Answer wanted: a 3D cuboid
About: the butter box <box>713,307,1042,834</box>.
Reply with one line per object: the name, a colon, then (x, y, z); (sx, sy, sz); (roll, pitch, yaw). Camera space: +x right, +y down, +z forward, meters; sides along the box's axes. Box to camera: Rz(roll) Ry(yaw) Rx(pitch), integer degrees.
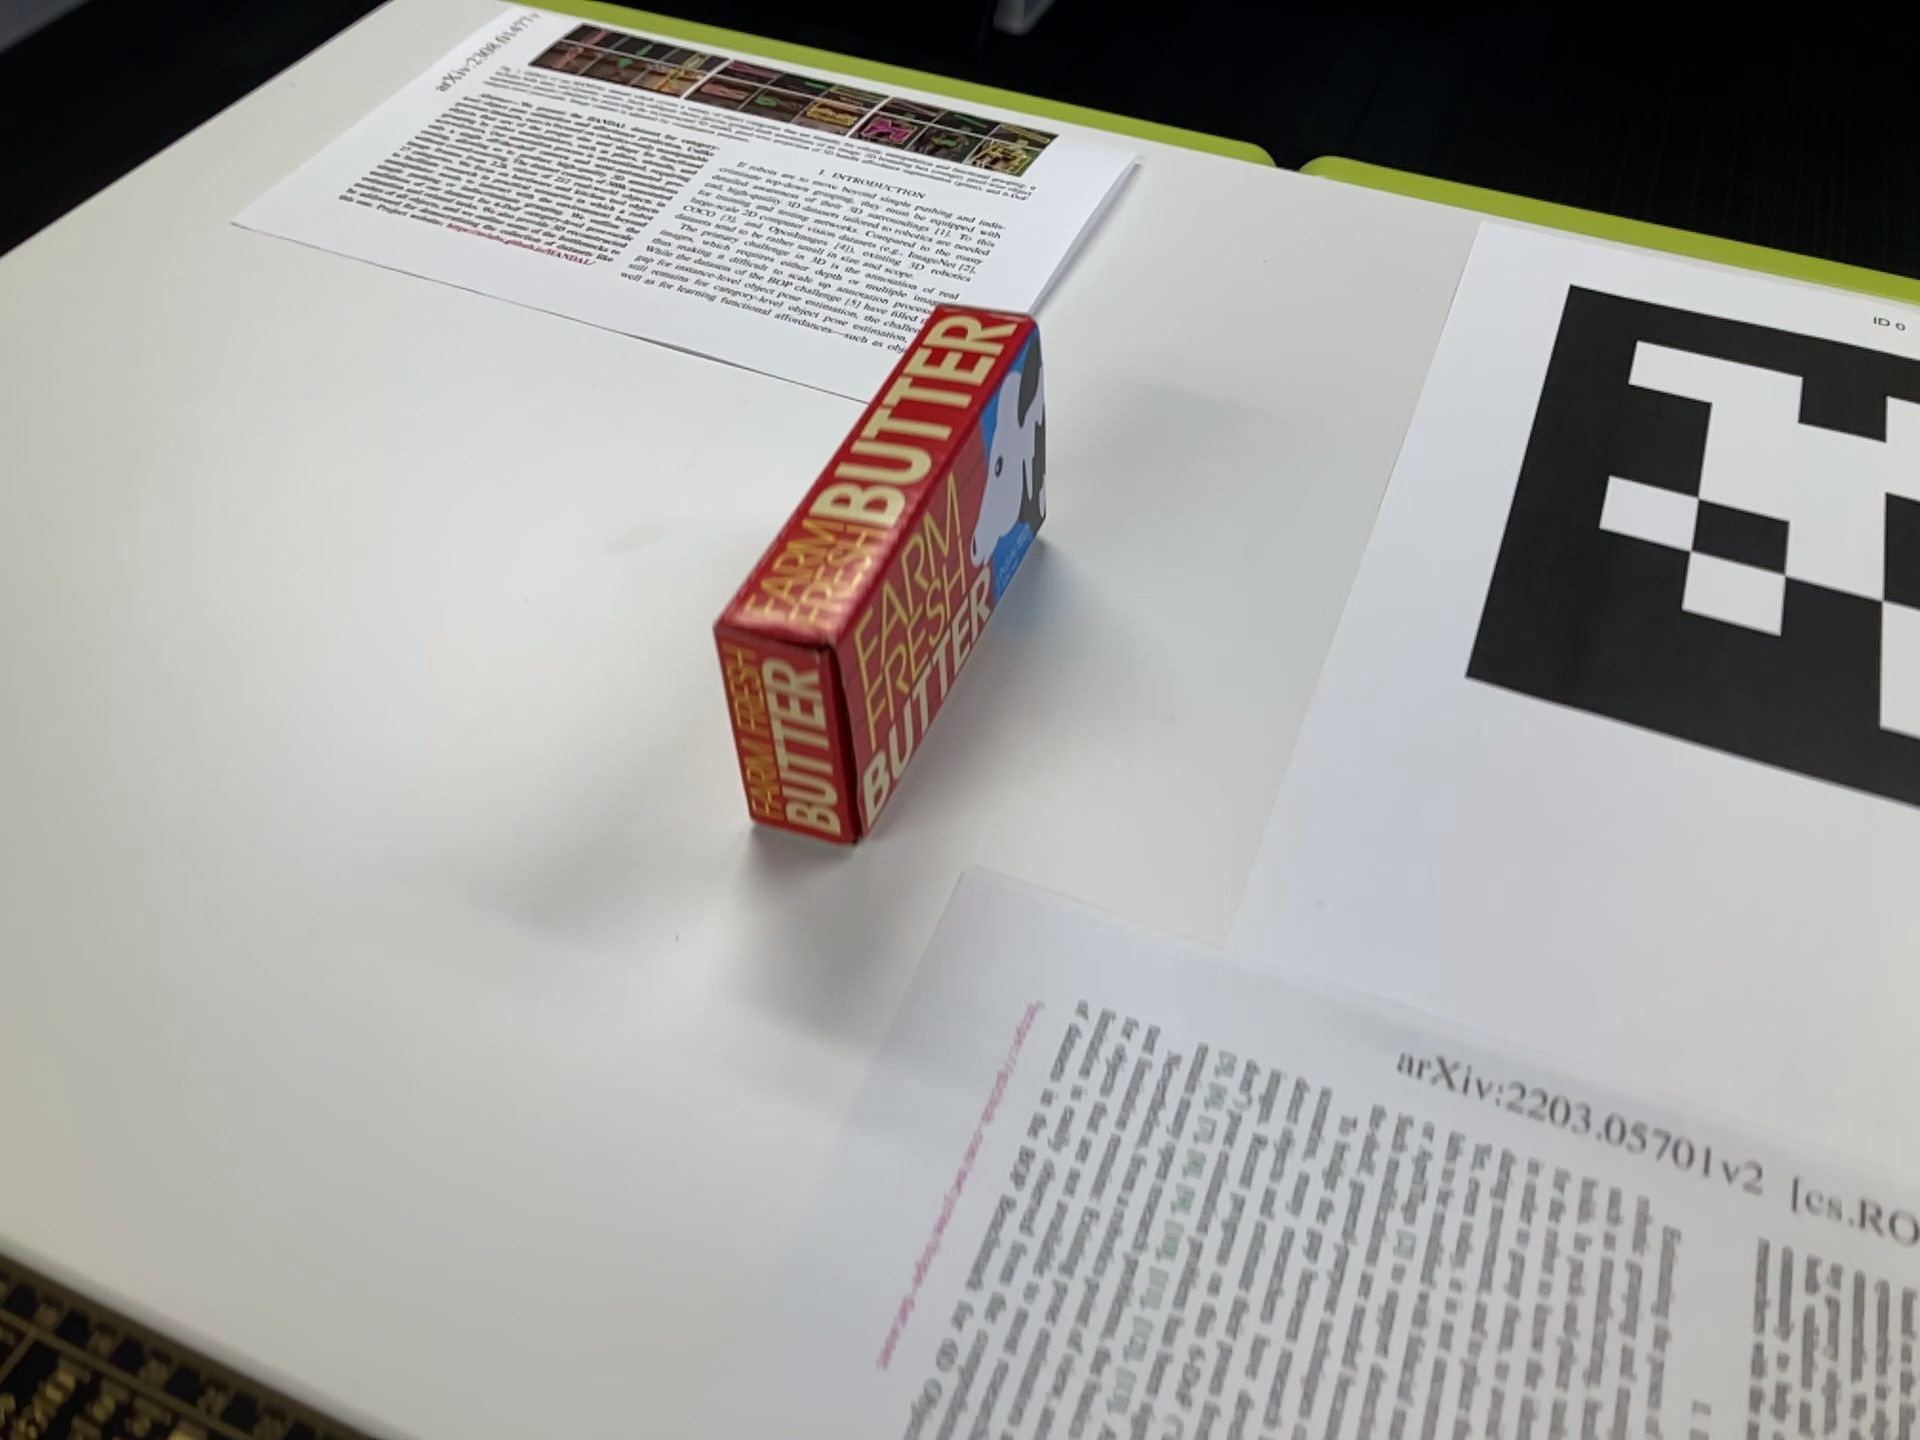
butter box: (-0.011, -0.032, 0.314); (0.024, 0.053, 0.103); (14, 48, 17)
